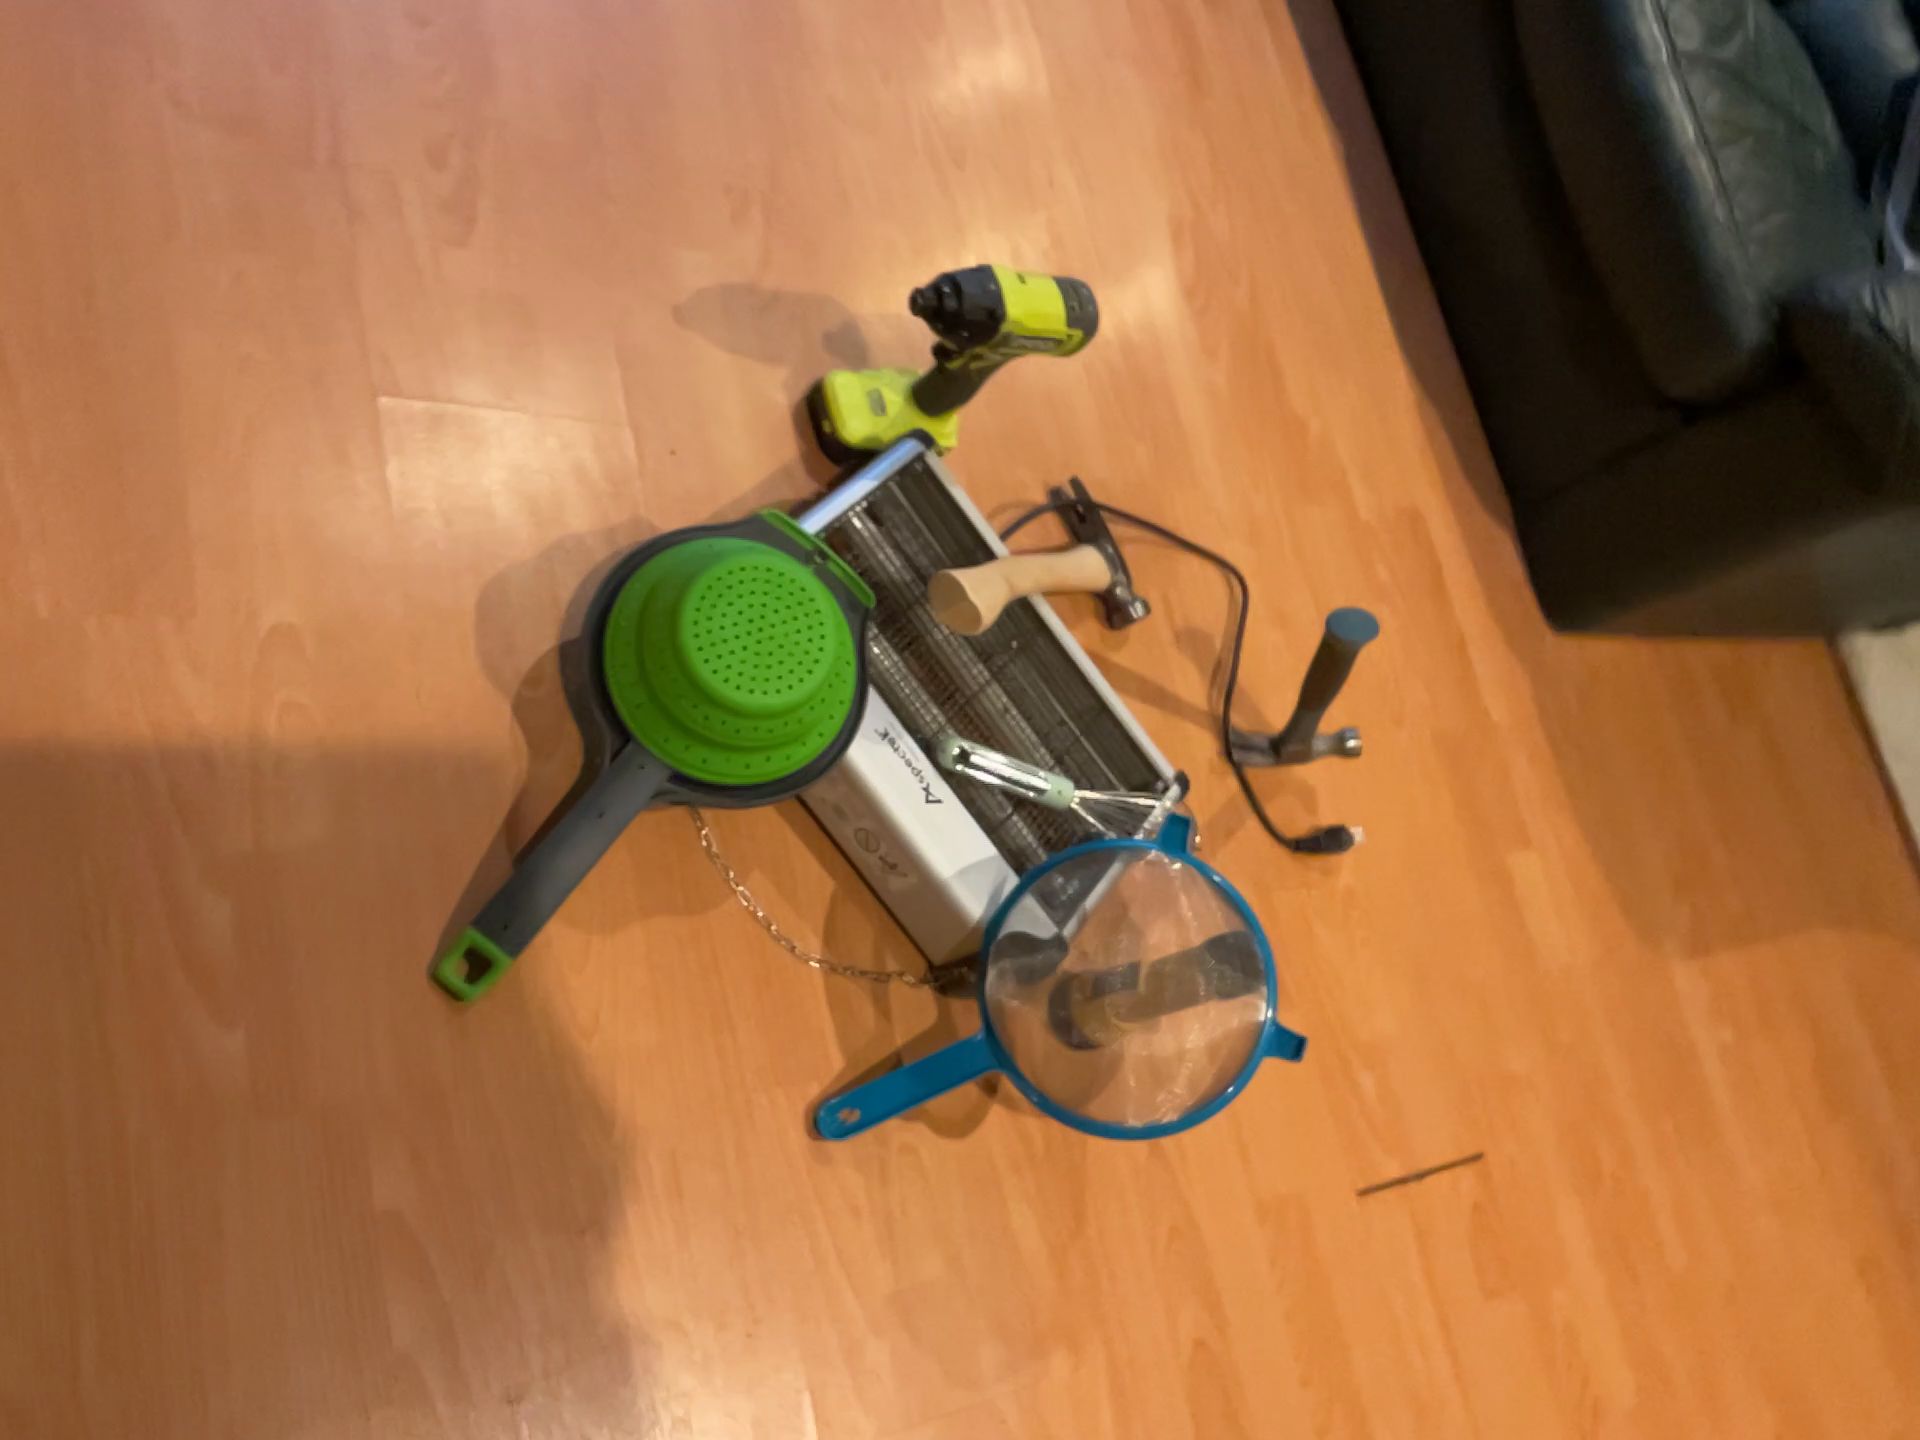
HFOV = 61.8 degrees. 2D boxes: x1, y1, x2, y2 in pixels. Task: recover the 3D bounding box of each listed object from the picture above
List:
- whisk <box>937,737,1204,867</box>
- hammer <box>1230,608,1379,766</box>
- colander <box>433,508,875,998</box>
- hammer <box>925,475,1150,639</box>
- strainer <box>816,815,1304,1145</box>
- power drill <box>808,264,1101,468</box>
[{"bbox_3d":[0.087,0.061,1.226,0.246,0.059,0.057,22,87,-27],"label":"whisk"},{"bbox_3d":[0.312,-0.021,1.398,0.128,0.330,0.033,-8,71,0],"label":"hammer"},{"bbox_3d":[-0.191,0.013,1.036,0.204,0.094,0.397,41,66,-8],"label":"colander"},{"bbox_3d":[0.059,-0.125,1.301,0.146,0.038,0.411,64,23,2],"label":"hammer"},{"bbox_3d":[0.057,0.202,1.091,0.340,0.095,0.211,-24,73,-8],"label":"strainer"},{"bbox_3d":[-0.018,-0.286,1.290,0.171,0.223,0.080,-6,74,-40],"label":"power drill"}]
